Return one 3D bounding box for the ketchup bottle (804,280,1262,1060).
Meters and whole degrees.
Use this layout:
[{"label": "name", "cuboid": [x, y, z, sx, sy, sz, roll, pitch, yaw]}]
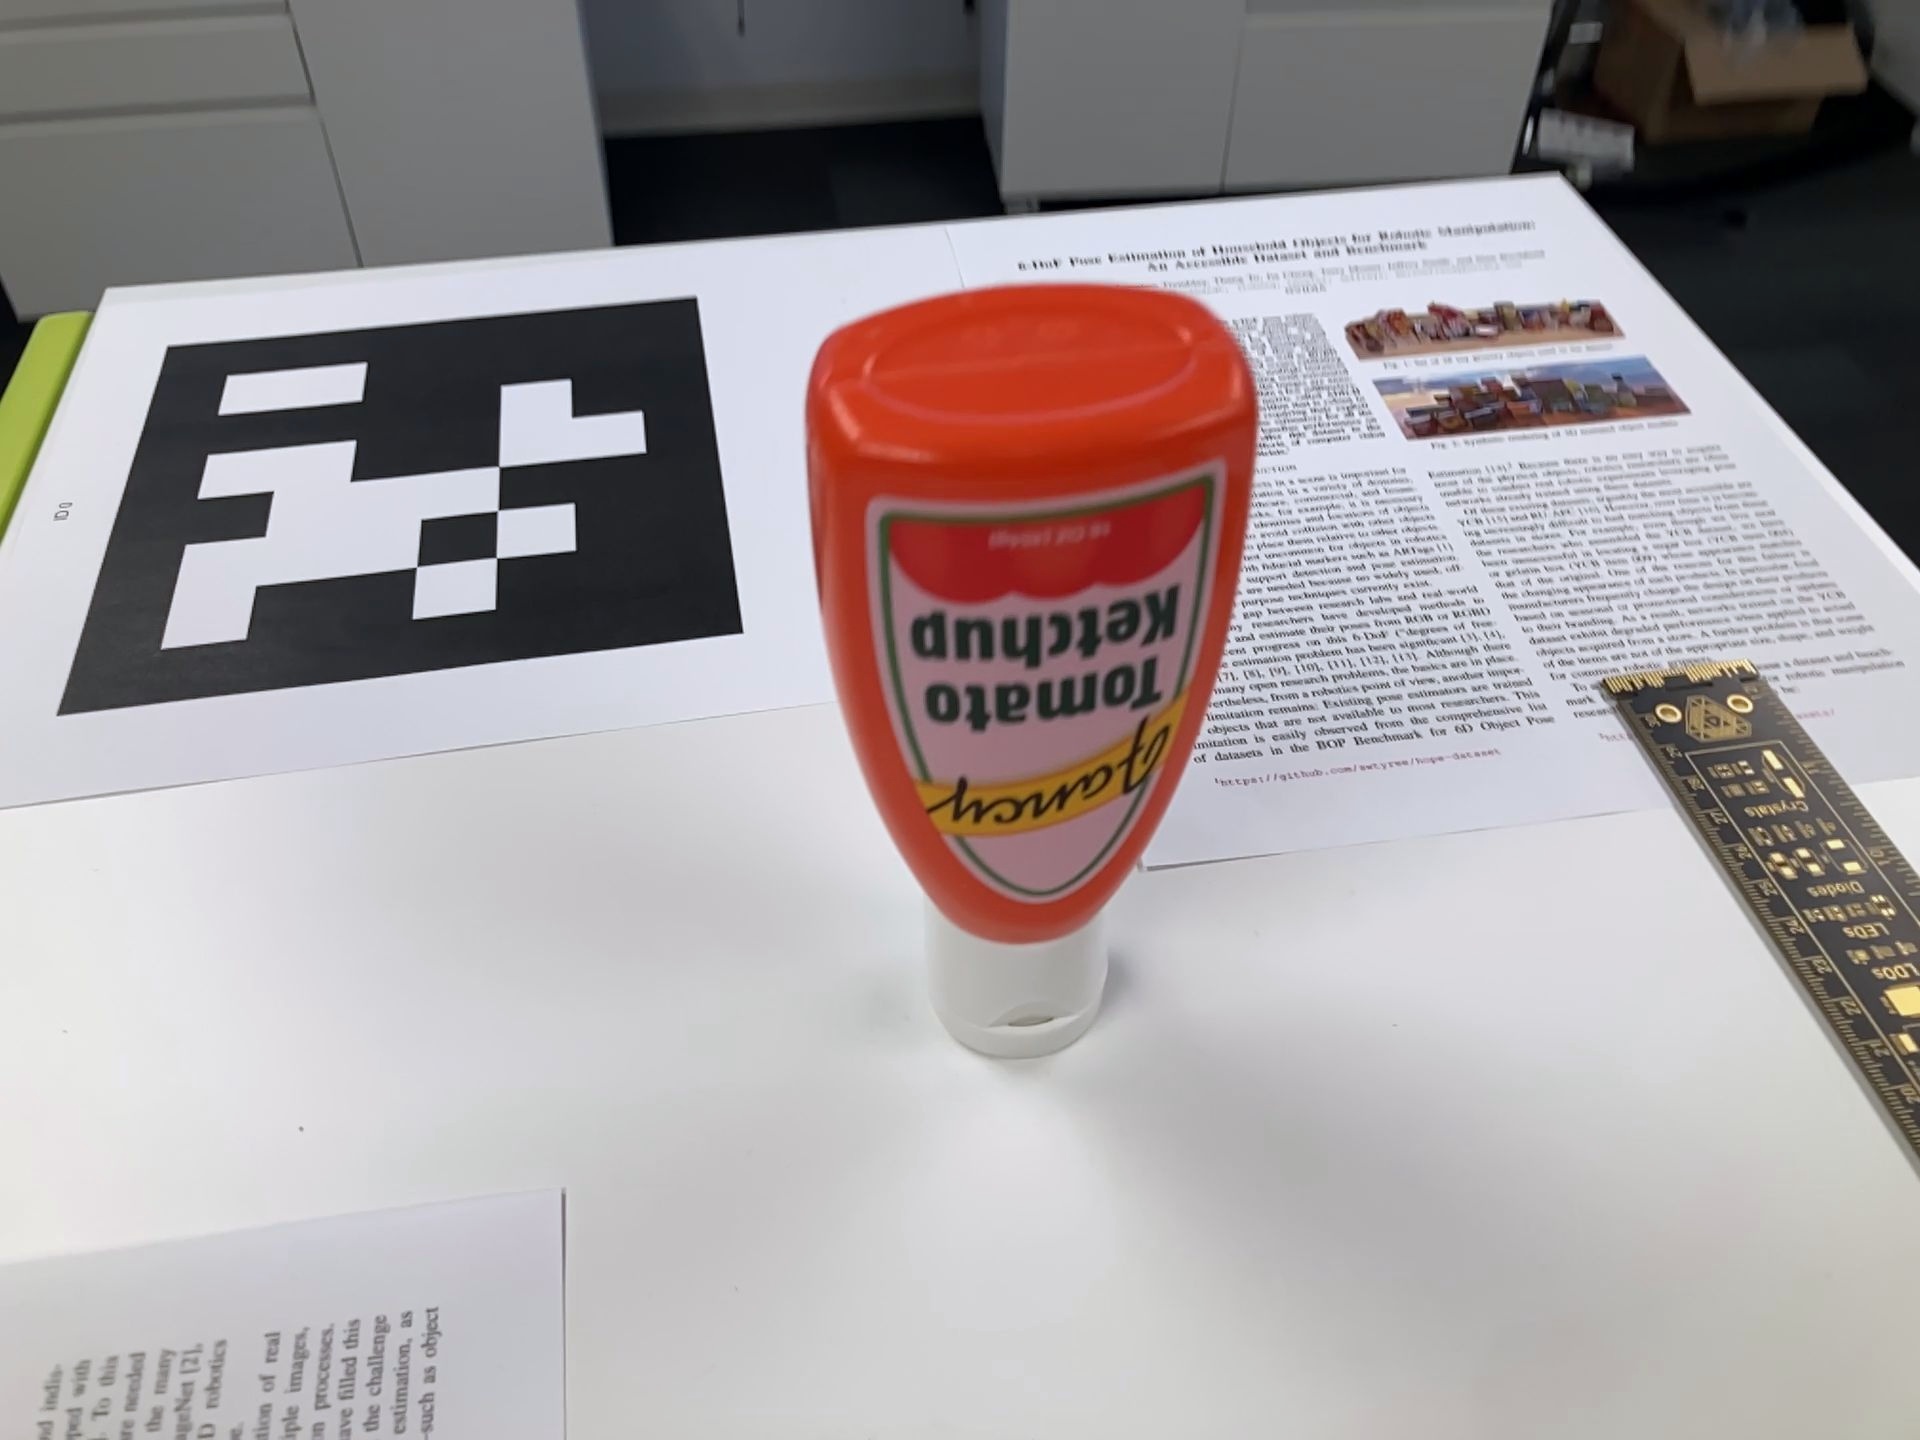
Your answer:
[{"label": "ketchup bottle", "cuboid": [0.011, 0.002, 0.268, 0.065, 0.149, 0.043, -7, 46, -6]}]
